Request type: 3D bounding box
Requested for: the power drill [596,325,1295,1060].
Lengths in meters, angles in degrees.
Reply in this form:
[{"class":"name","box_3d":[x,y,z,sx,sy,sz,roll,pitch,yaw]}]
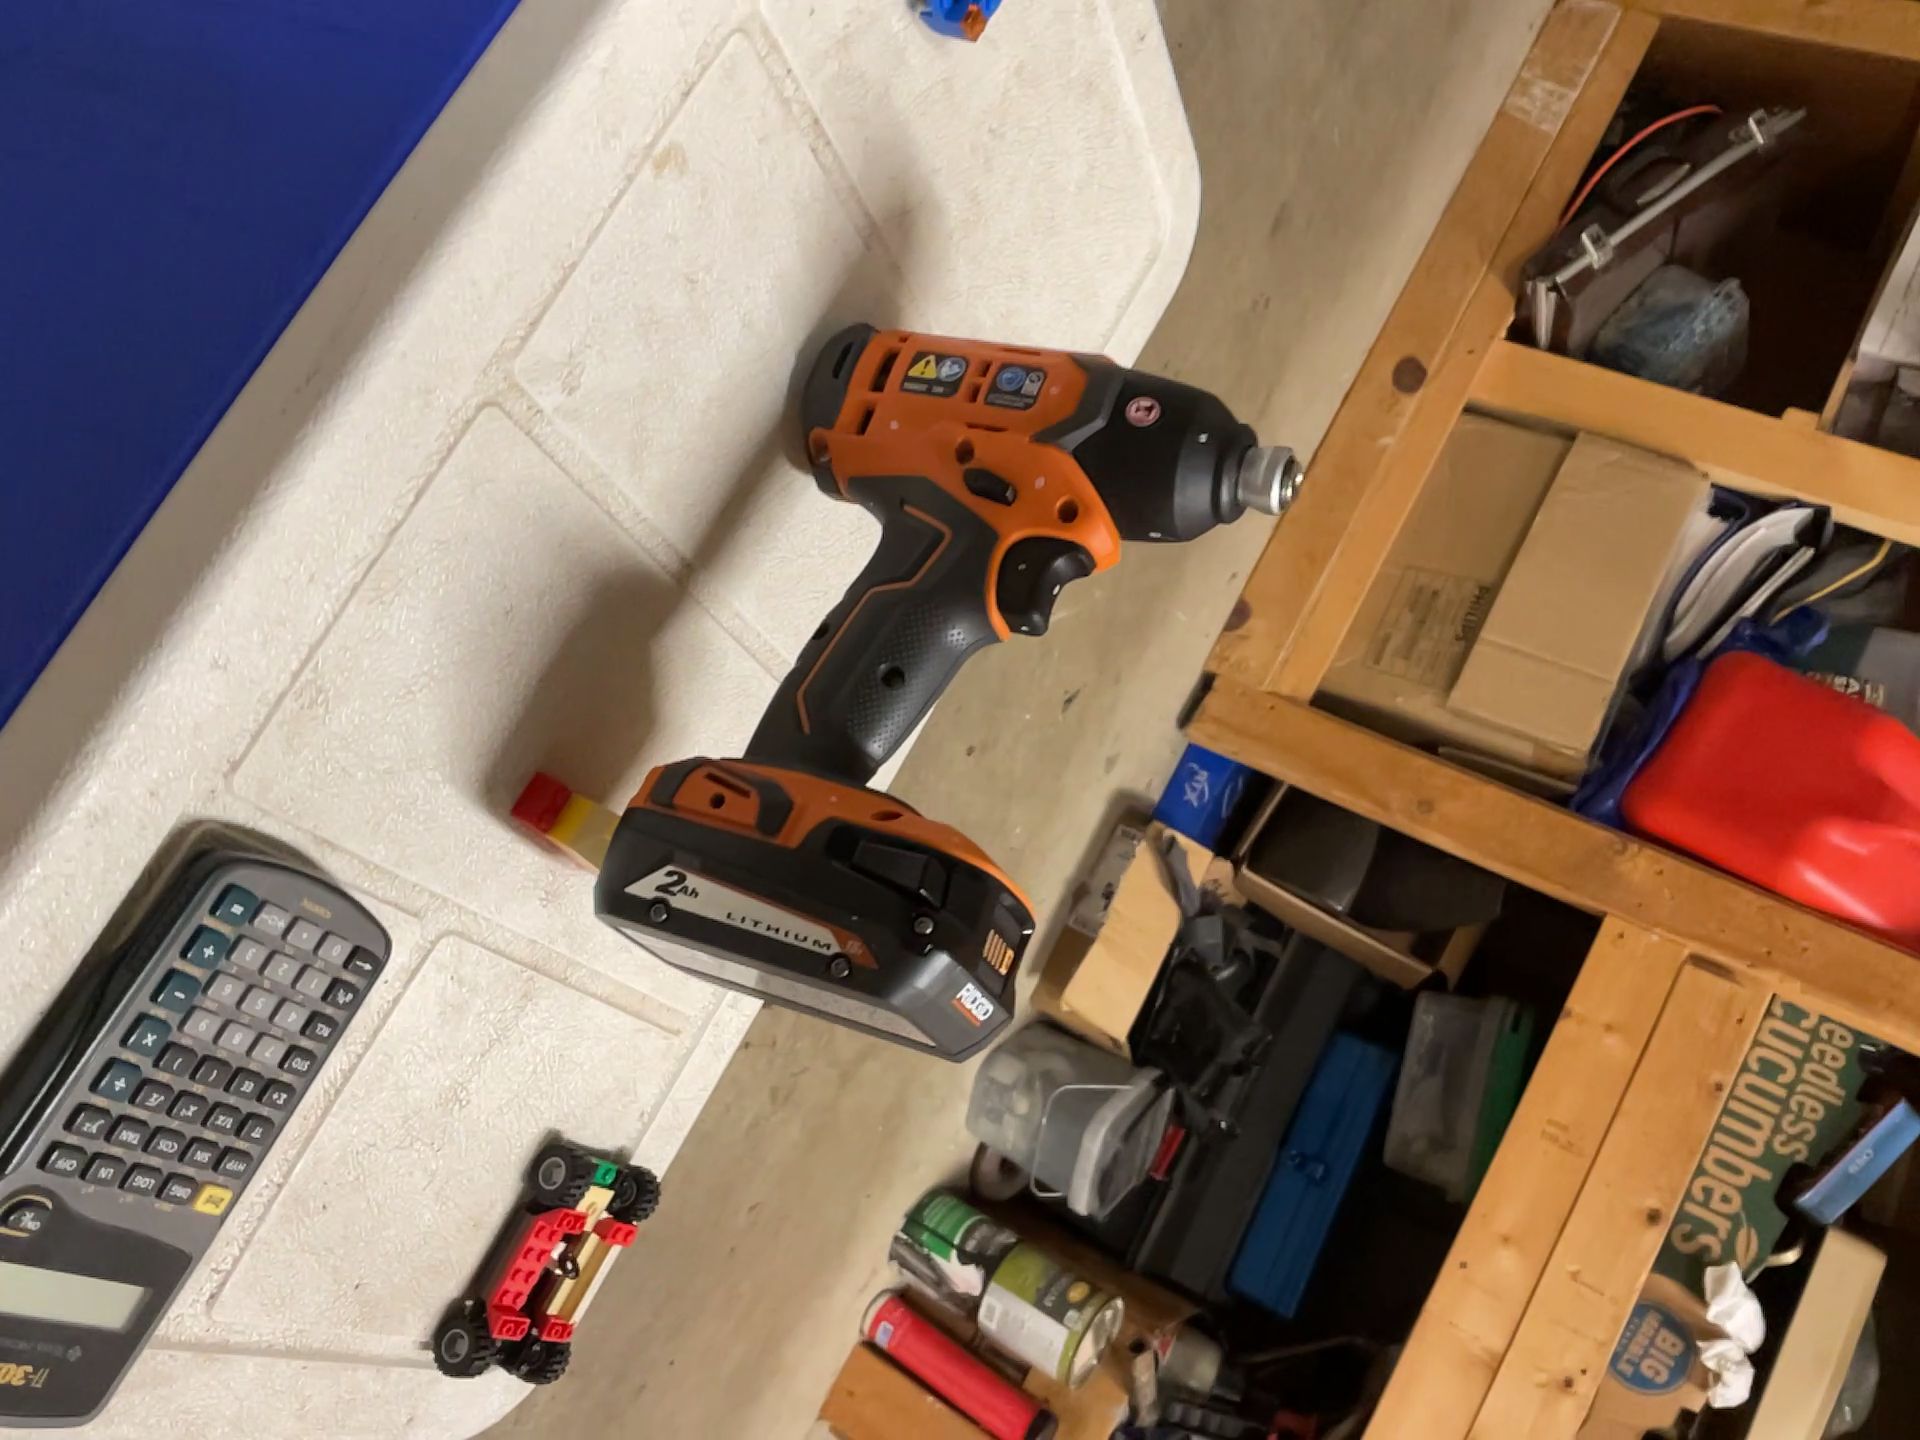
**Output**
[{"class":"power drill","box_3d":[0.000,-0.018,0.496,0.227,0.164,0.084,-69,154,-19]}]
